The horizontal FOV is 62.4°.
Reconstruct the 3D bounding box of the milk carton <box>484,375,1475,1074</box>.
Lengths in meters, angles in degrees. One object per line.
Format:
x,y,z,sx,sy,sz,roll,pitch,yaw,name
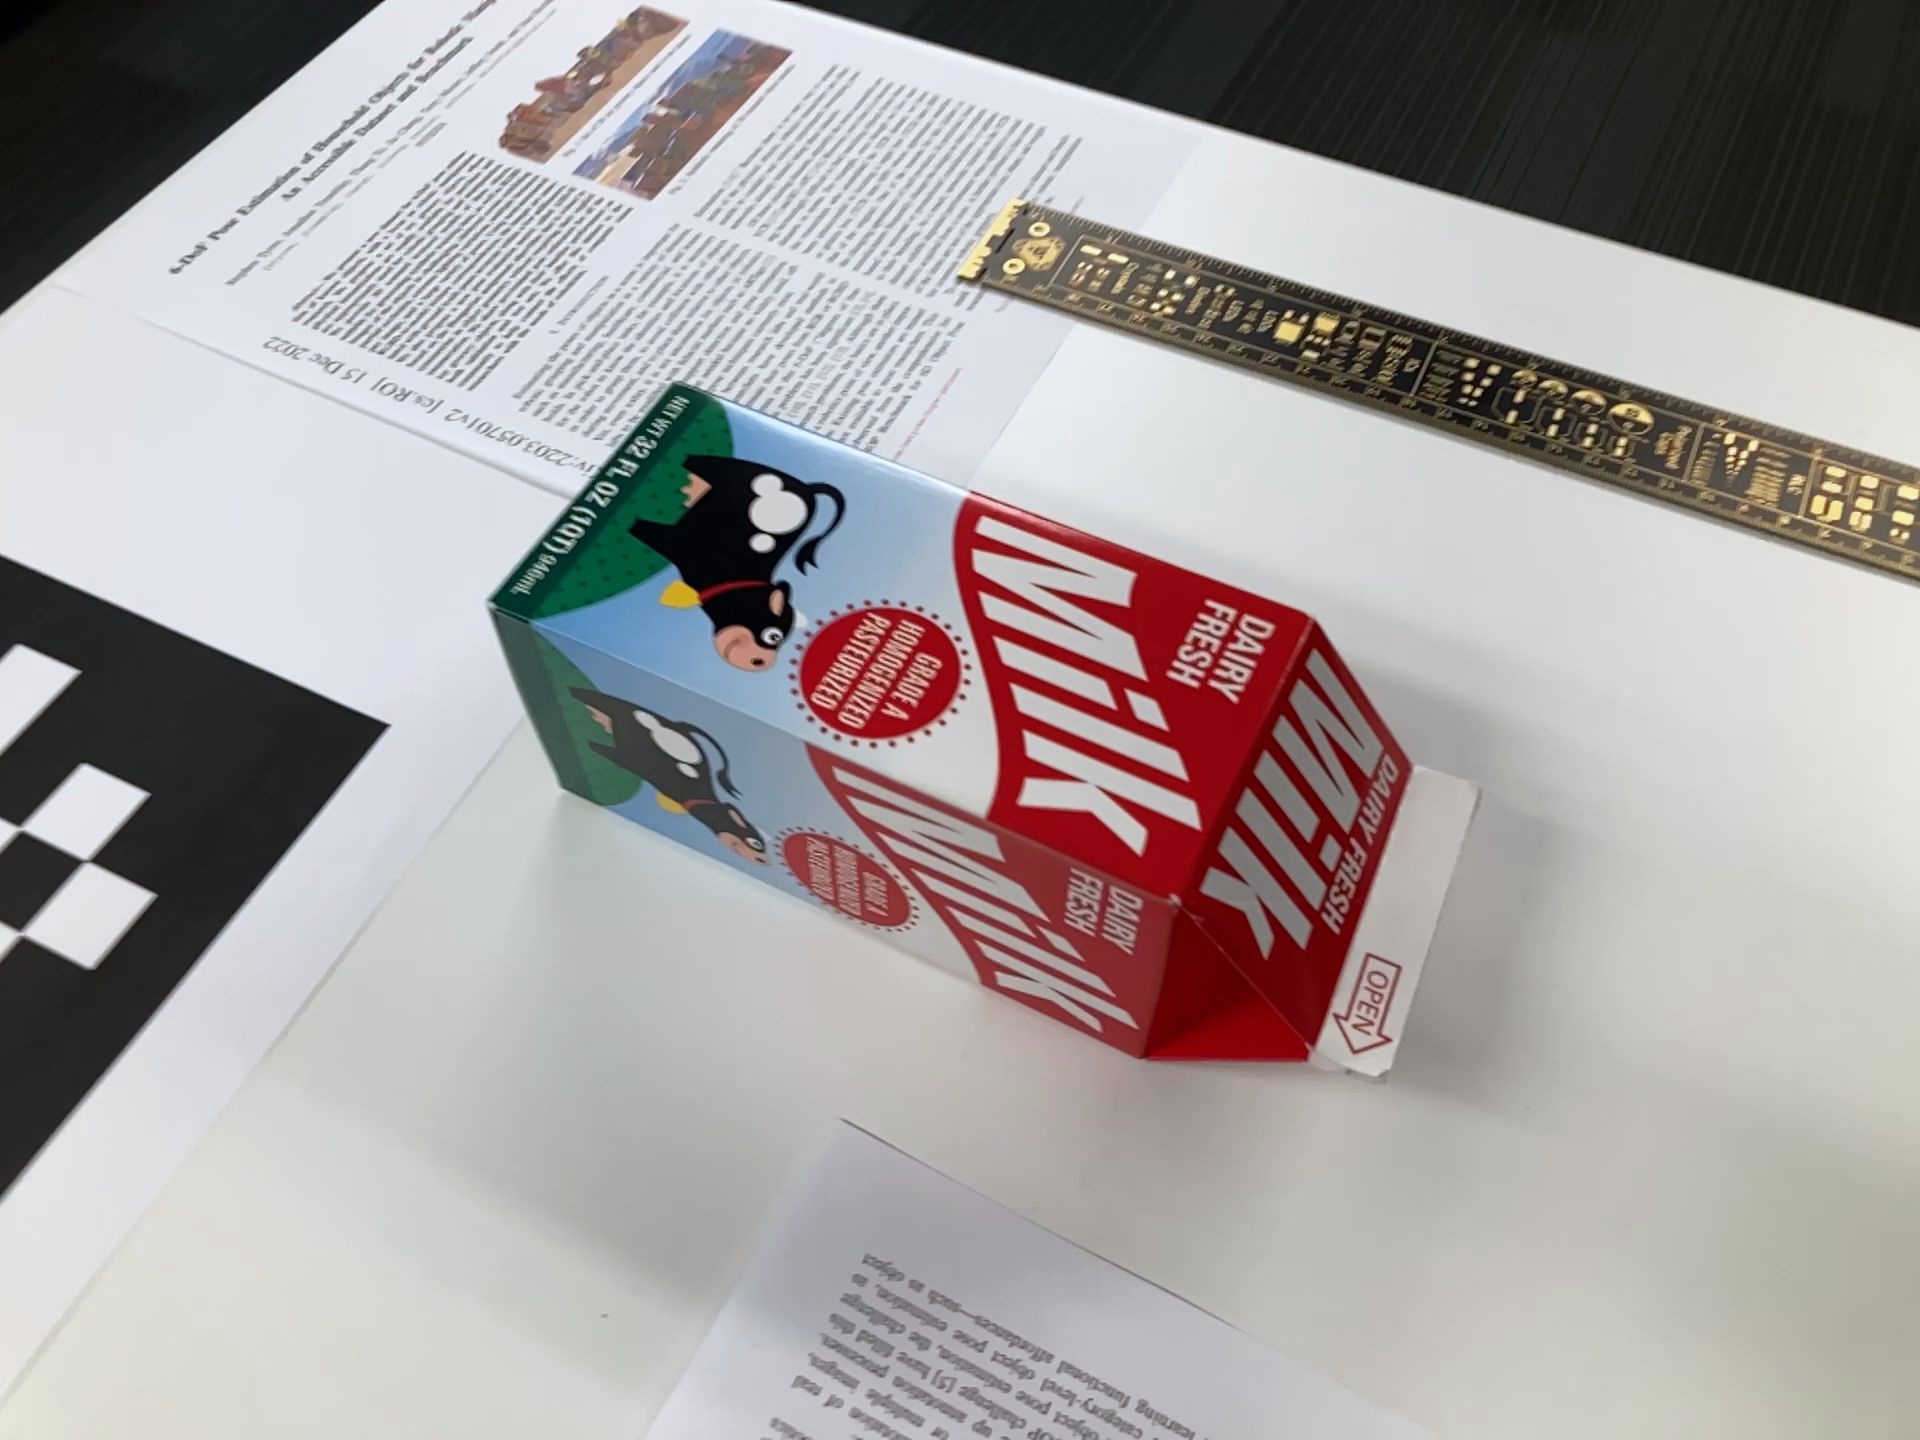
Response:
0.006,0.005,0.332,0.190,0.073,0.072,22,58,15,milk carton
